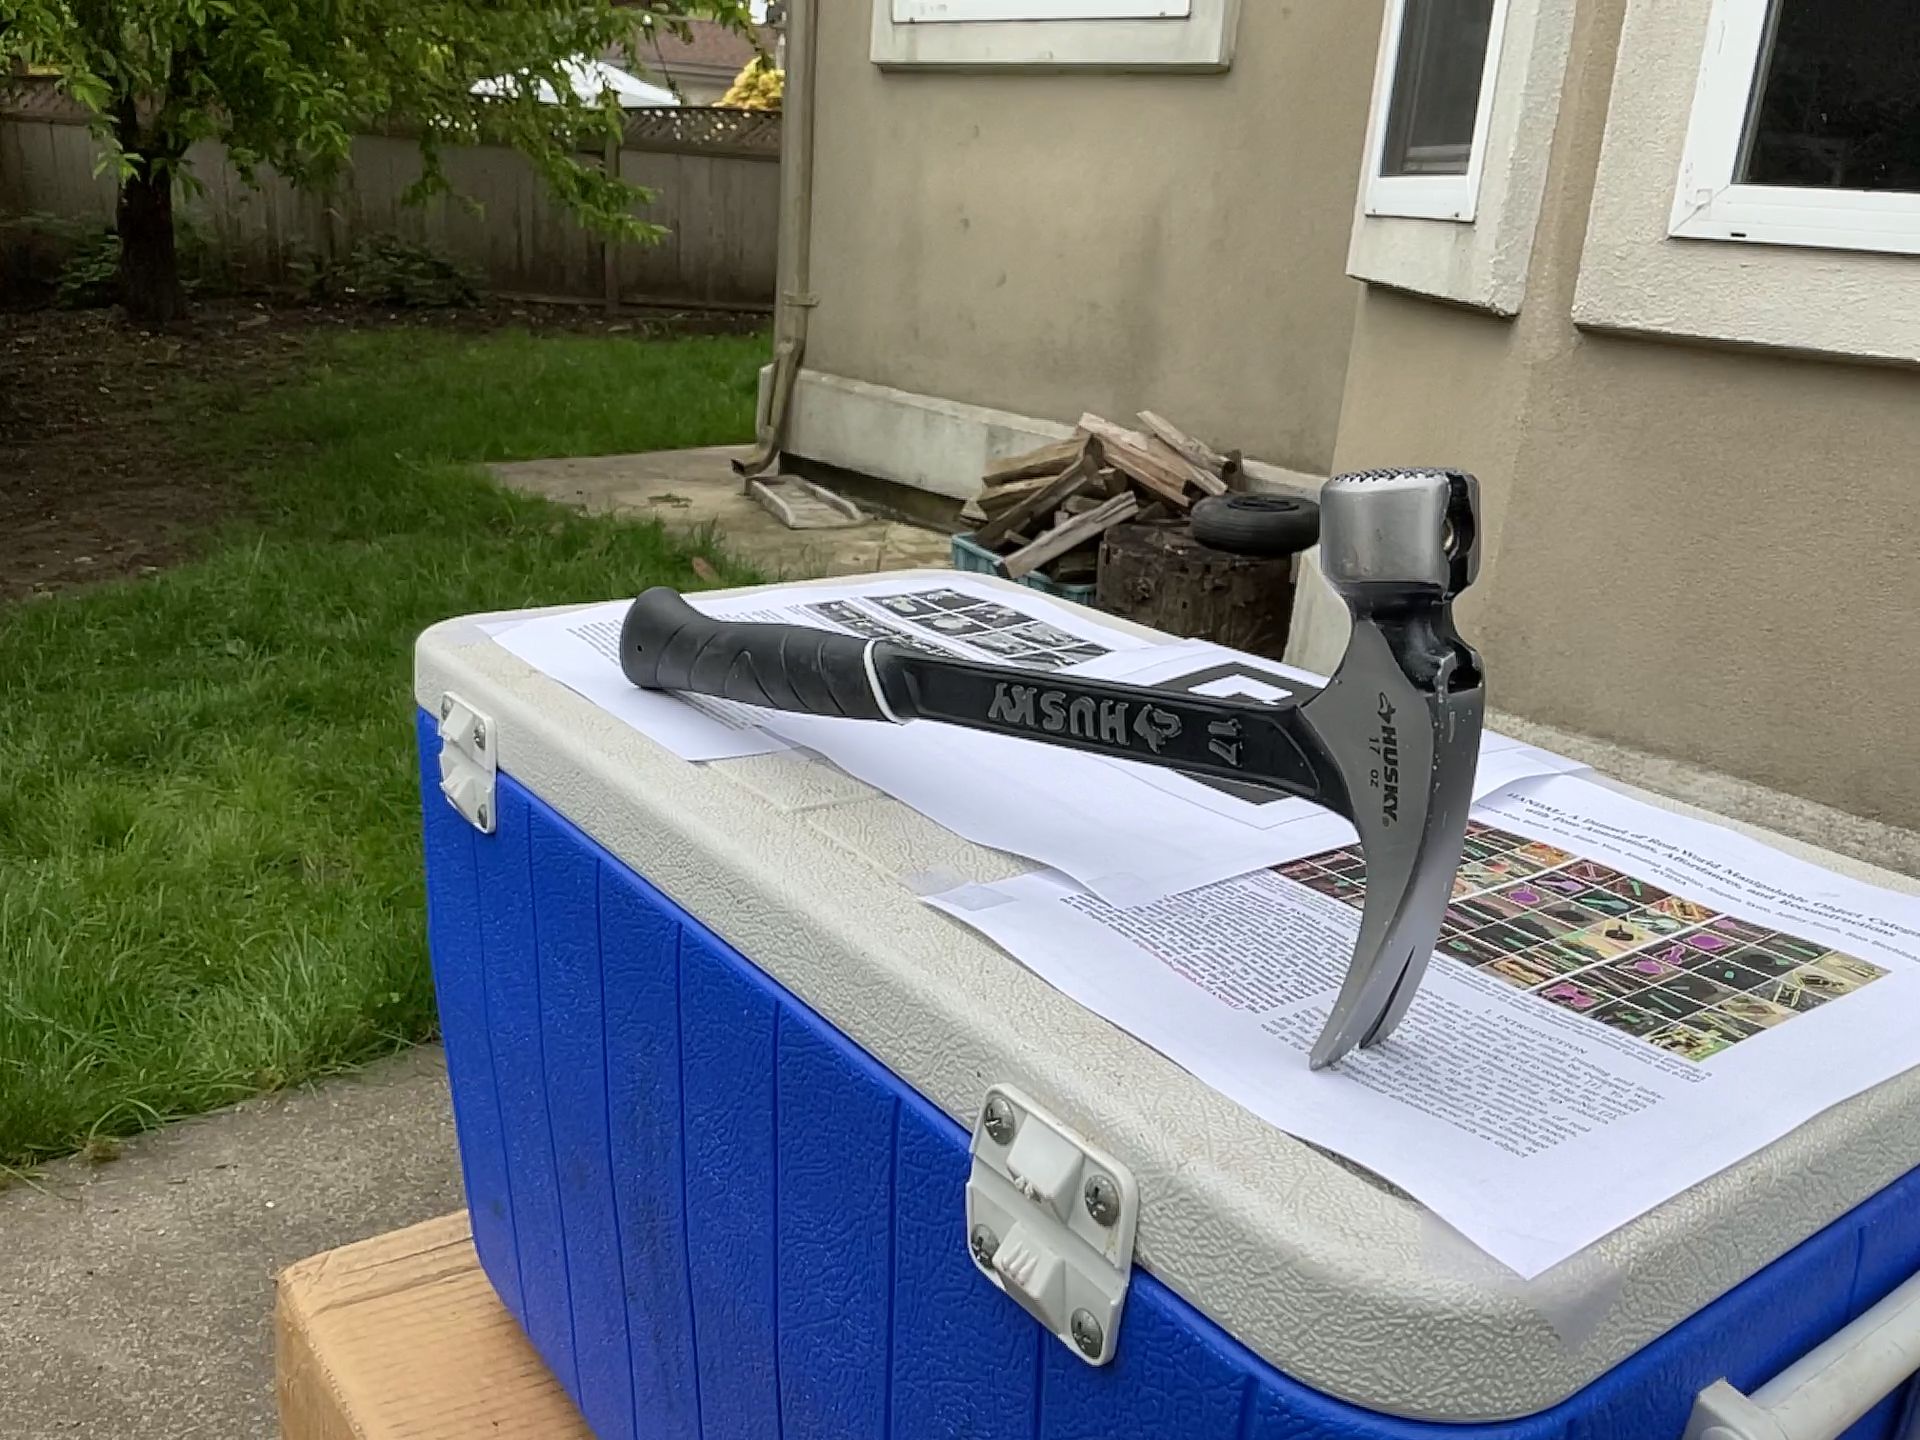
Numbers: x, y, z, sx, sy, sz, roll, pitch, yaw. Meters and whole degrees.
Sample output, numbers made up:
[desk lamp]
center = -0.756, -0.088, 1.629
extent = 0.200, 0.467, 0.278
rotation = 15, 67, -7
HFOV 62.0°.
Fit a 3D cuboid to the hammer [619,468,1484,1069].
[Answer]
[hammer]
center = -0.009, -0.005, 0.531
extent = 0.036, 0.149, 0.409
rotation = -11, 13, -37
